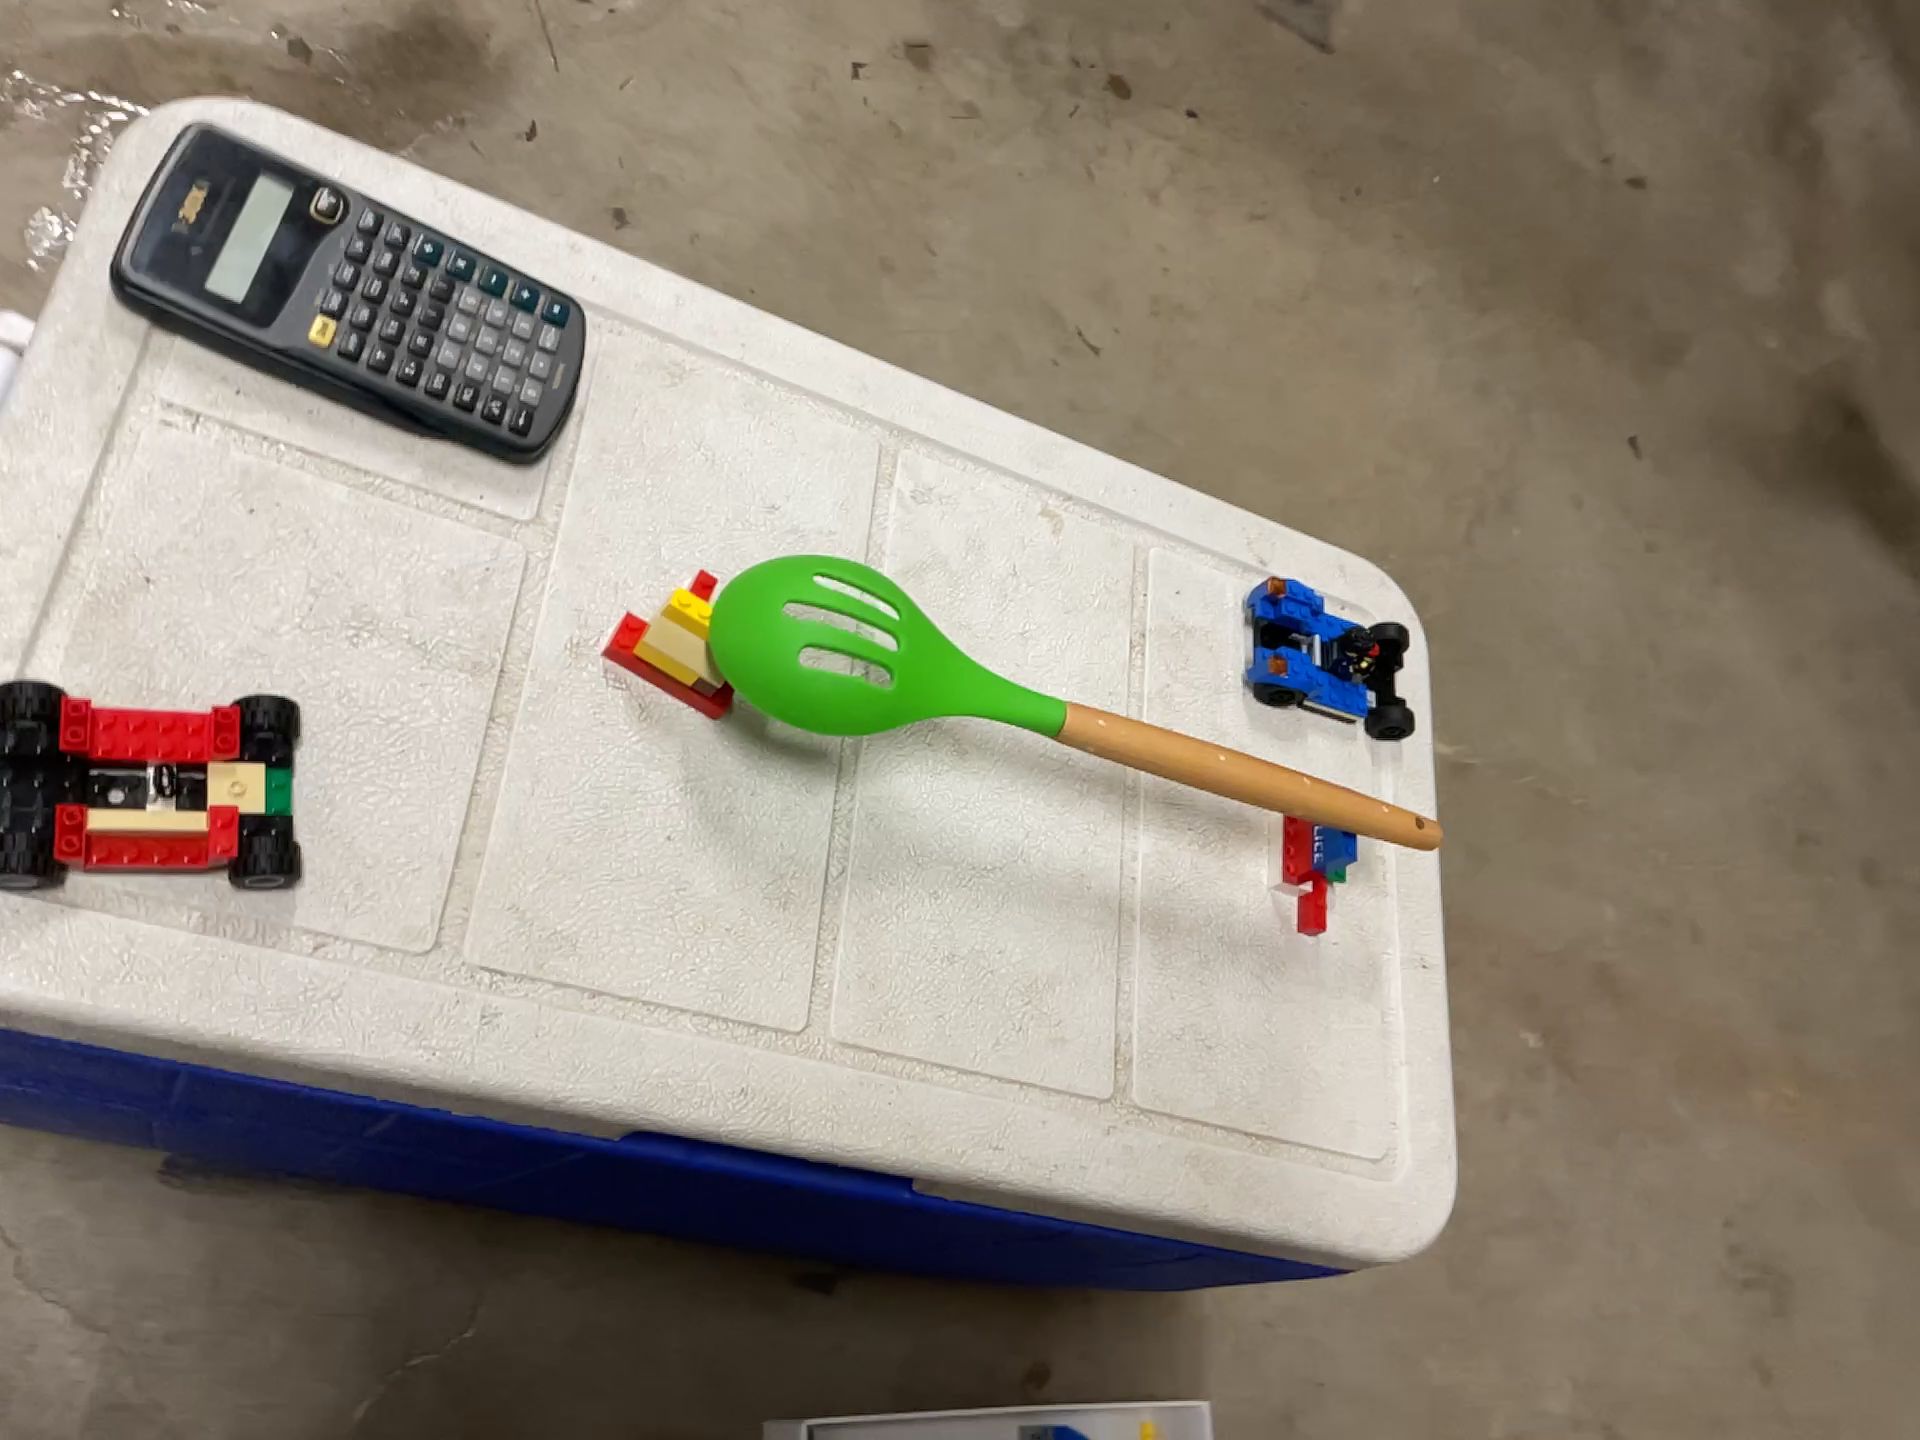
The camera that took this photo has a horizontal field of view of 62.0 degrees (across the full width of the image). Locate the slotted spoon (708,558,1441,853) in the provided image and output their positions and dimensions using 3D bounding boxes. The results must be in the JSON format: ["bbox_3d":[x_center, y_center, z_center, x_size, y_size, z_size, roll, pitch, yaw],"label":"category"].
[{"bbox_3d":[0.058,0.005,0.599,0.313,0.031,0.070,17,61,-23],"label":"slotted spoon"}]
